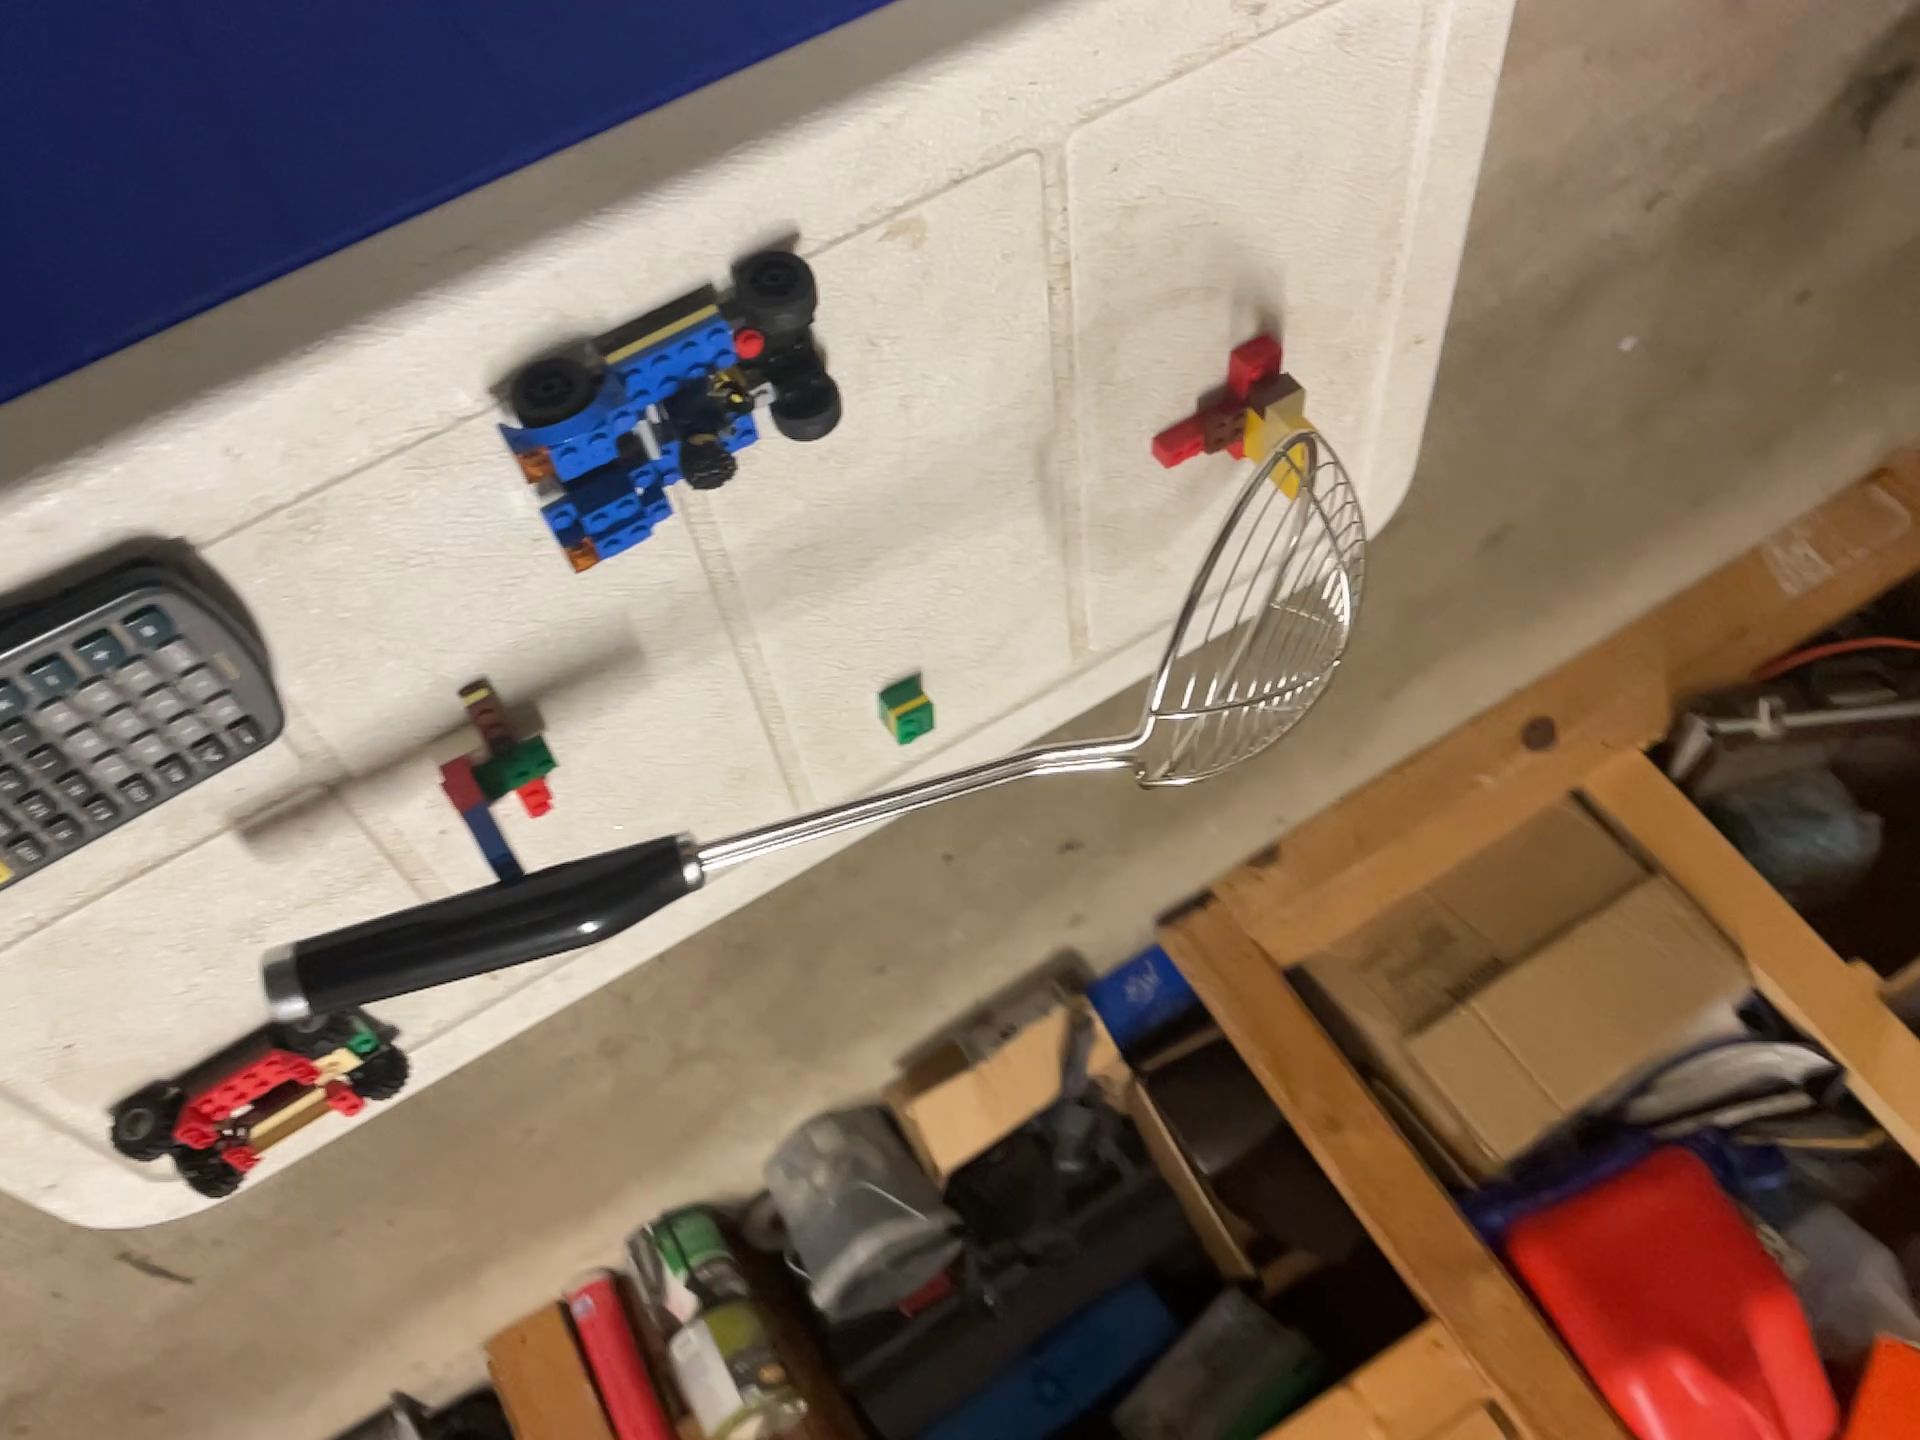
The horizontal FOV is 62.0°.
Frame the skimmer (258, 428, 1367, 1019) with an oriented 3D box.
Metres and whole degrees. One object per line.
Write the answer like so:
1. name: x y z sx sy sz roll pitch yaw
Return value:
1. skimmer: -0.034 0.002 0.502 0.363 0.090 0.127 -16 147 -10
